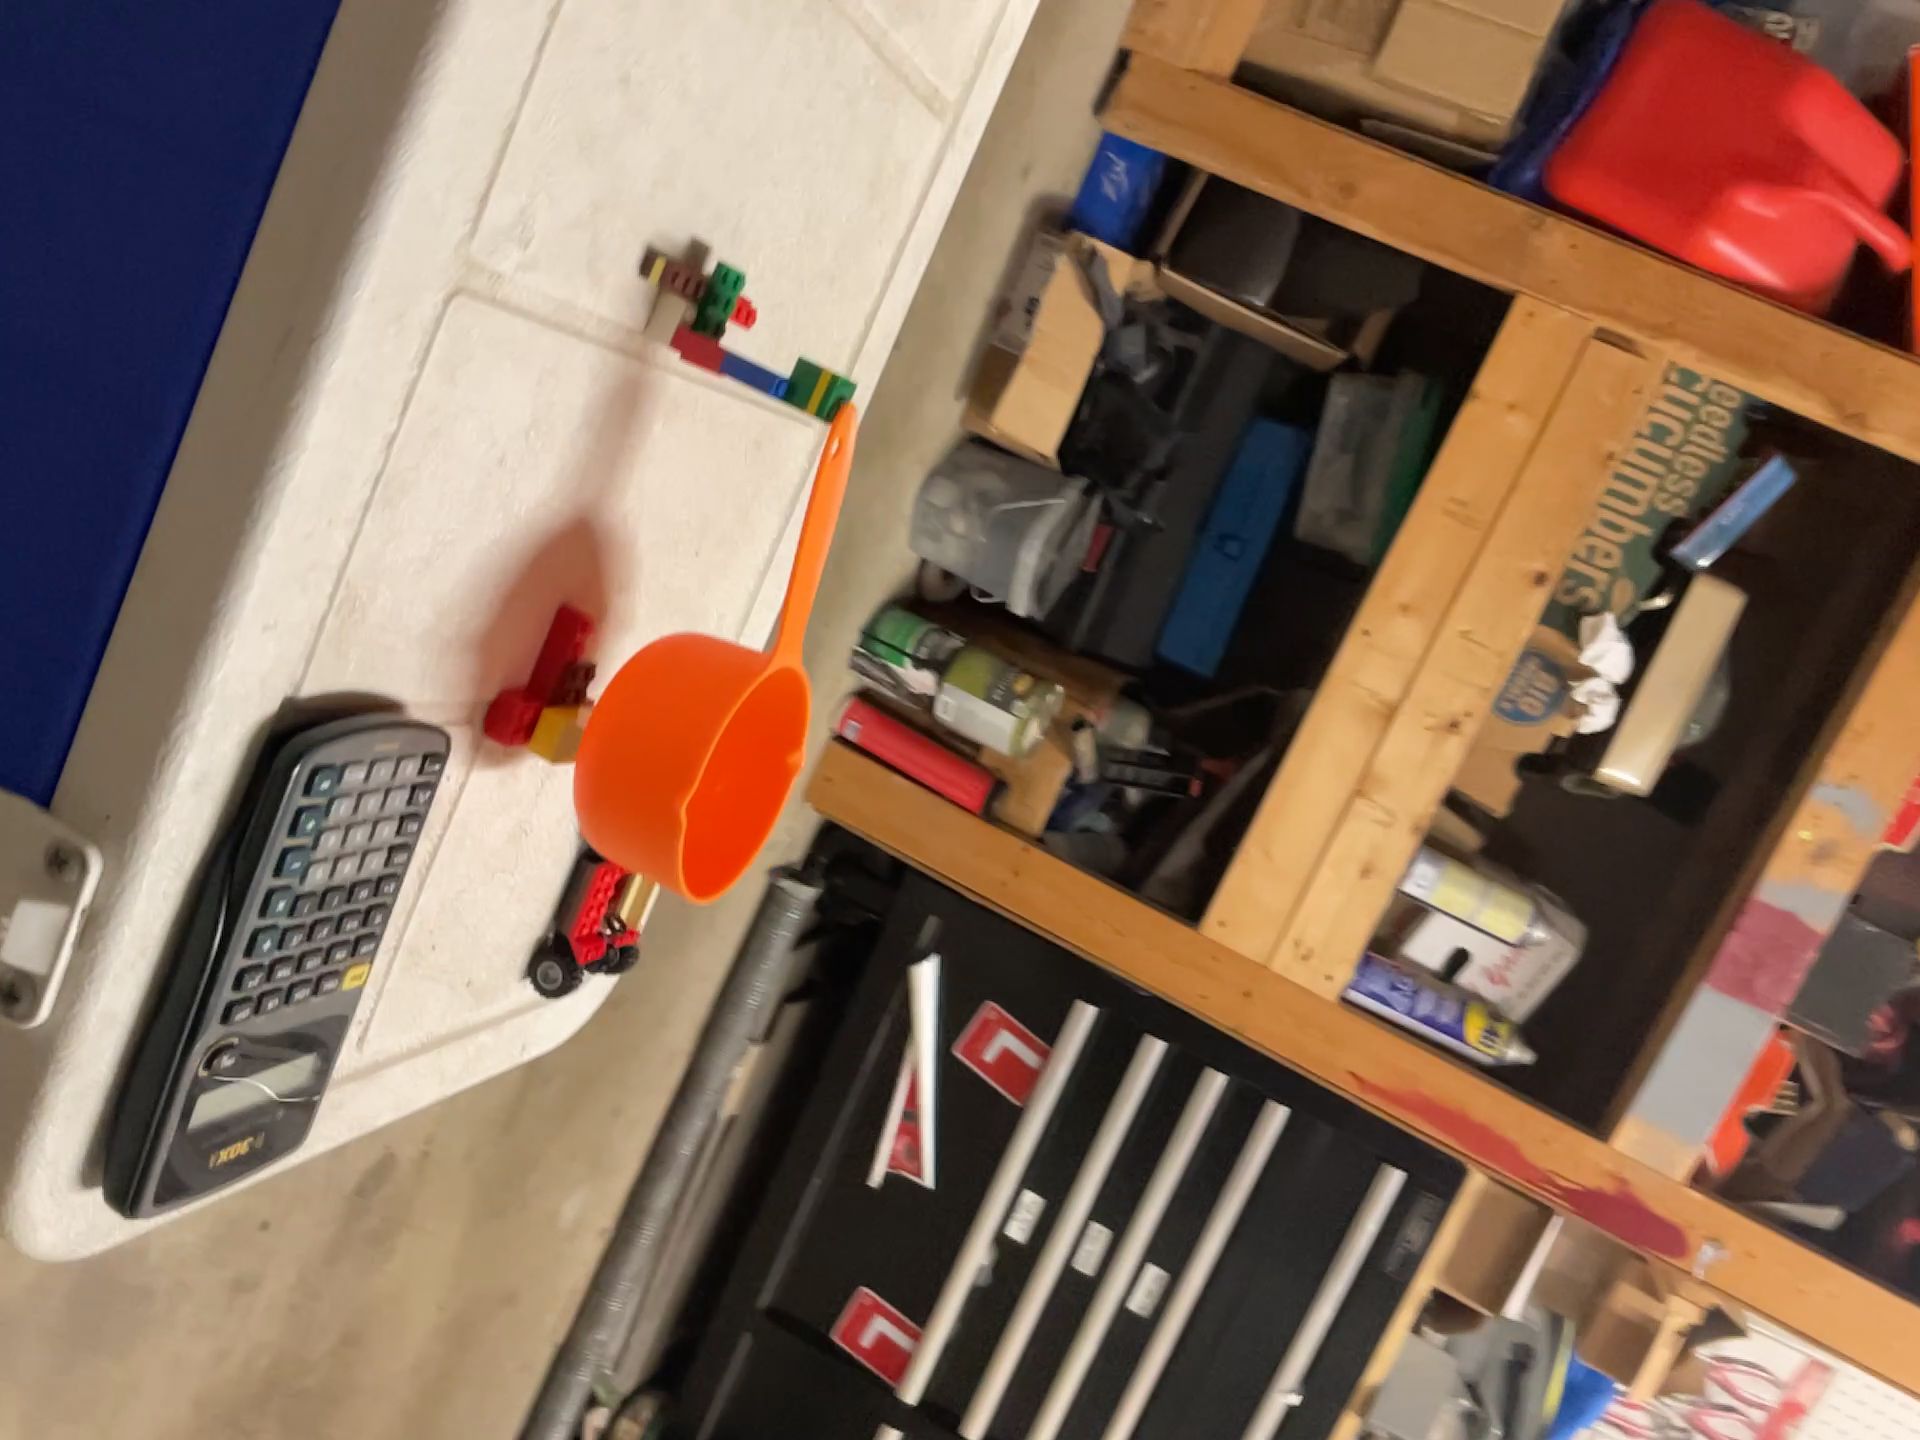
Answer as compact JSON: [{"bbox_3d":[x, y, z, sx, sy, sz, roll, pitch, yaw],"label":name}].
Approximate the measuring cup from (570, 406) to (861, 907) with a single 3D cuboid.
[{"bbox_3d":[-0.079,-0.026,0.530,0.095,0.052,0.173,-21,131,-71],"label":"measuring cup"}]
